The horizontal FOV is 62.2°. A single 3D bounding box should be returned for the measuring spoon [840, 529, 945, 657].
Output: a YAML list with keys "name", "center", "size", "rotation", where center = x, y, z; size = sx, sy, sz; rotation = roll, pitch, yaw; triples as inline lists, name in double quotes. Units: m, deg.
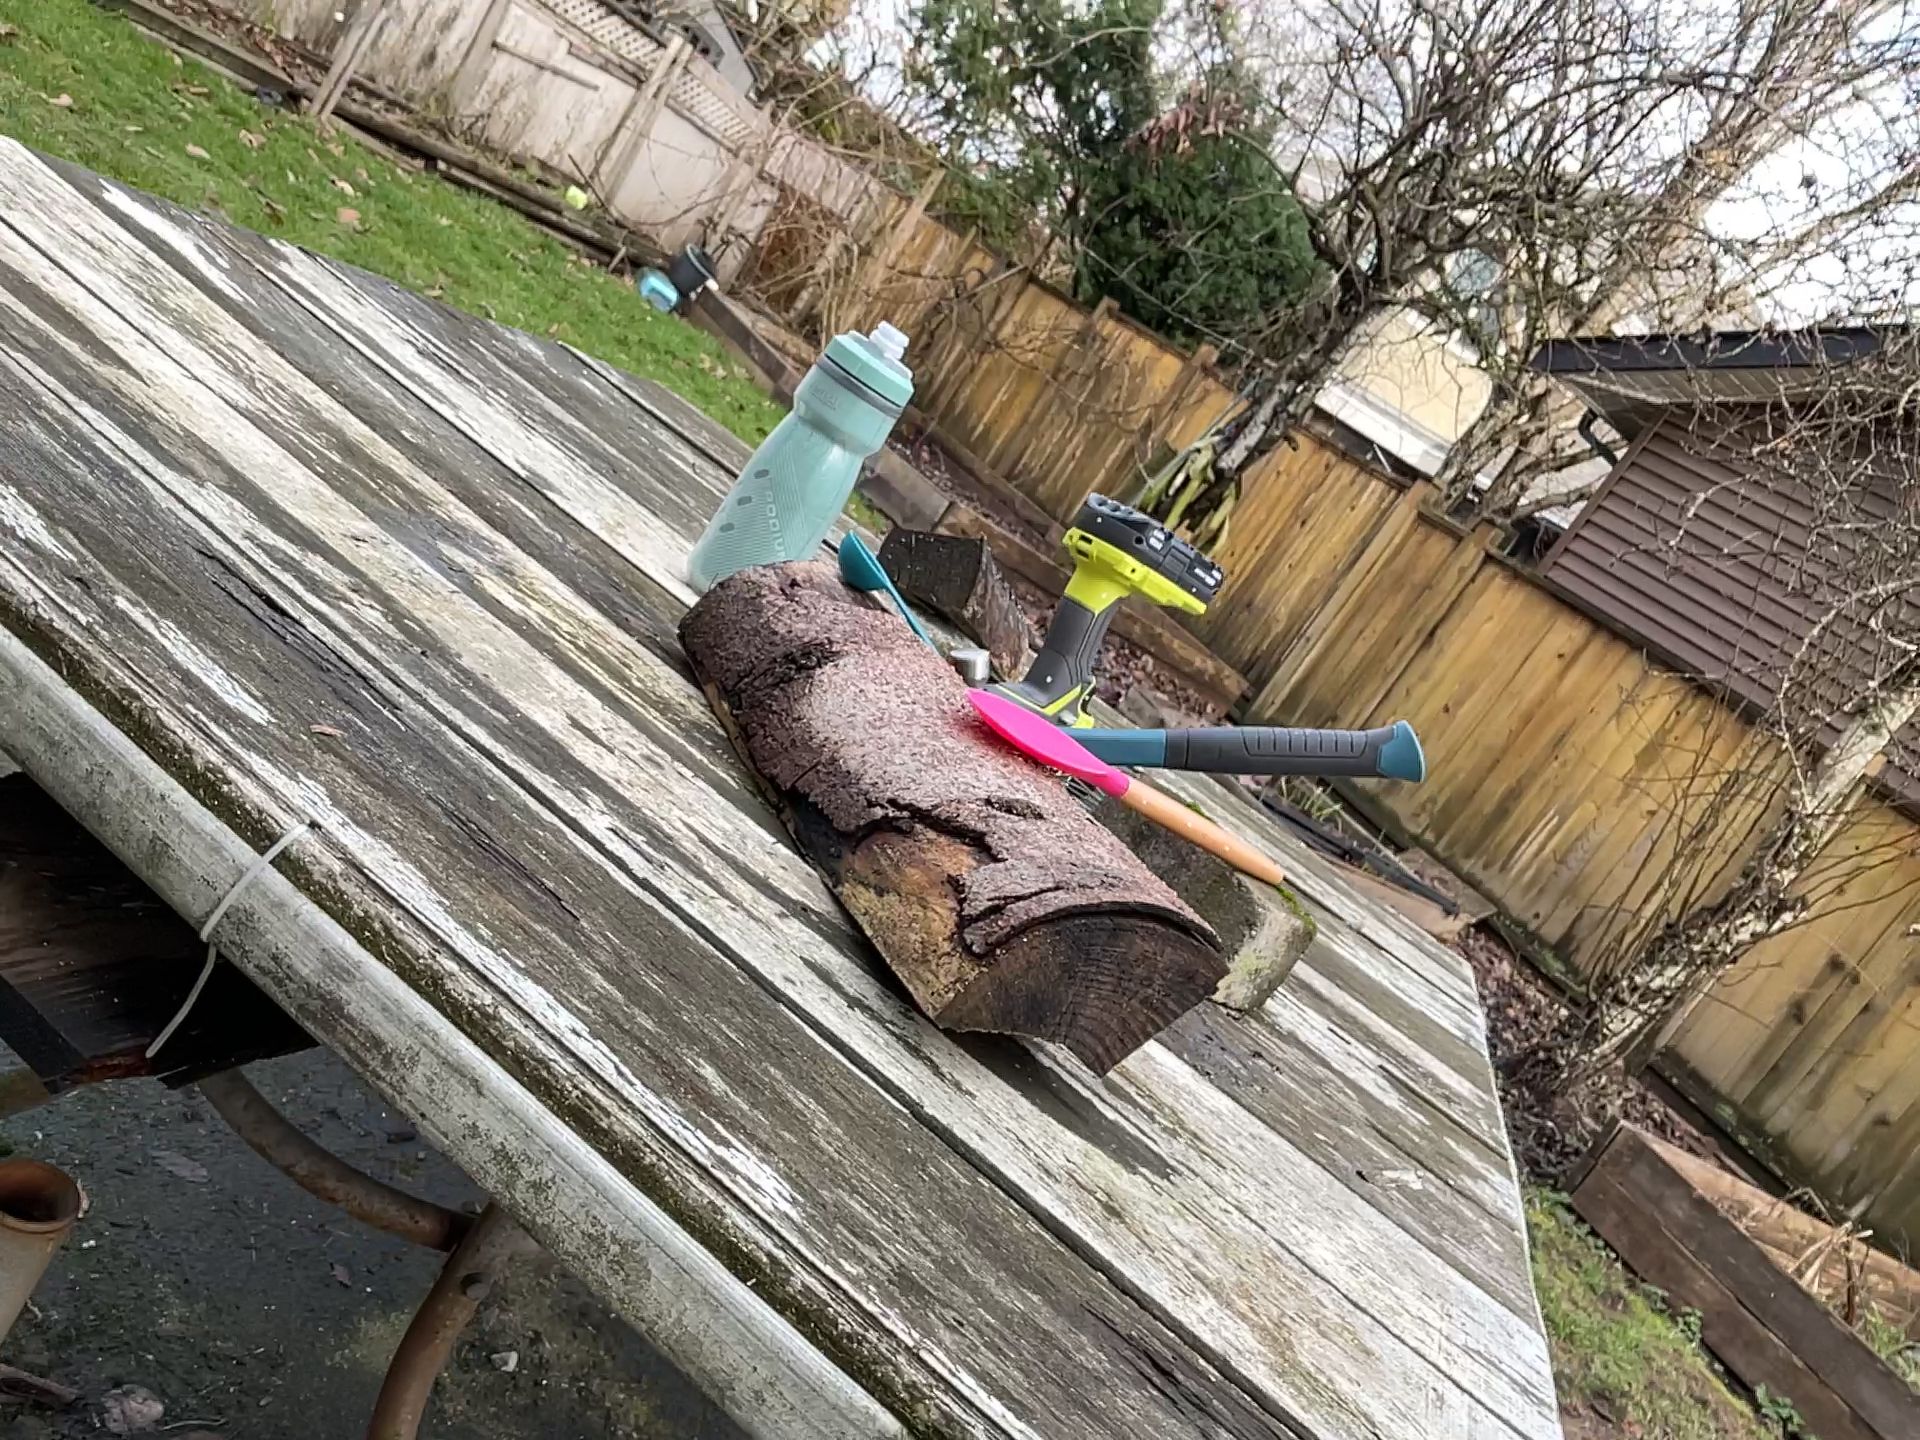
- name: "measuring spoon"
  center: [-0.038, -0.062, 1.007]
  size: [0.128, 0.021, 0.042]
  rotation: [55, 8, -10]

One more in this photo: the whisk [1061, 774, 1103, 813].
- name: "whisk"
  center: [0.130, 0.076, 1.232]
  size: [0.238, 0.055, 0.055]
  rotation: [28, 21, -46]

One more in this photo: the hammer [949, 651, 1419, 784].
- name: "hammer"
  center: [0.155, 0.020, 1.107]
  size: [0.331, 0.128, 0.033]
  rotation: [1, 17, -2]

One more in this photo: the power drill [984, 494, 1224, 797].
- name: "power drill"
  center: [0.105, -0.049, 1.257]
  size: [0.171, 0.223, 0.080]
  rotation: [26, 7, -44]

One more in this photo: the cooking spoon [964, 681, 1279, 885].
- name: "cooking spoon"
  center: [0.108, 0.046, 0.956]
  size: [0.318, 0.017, 0.069]
  rotation: [30, 10, -43]
